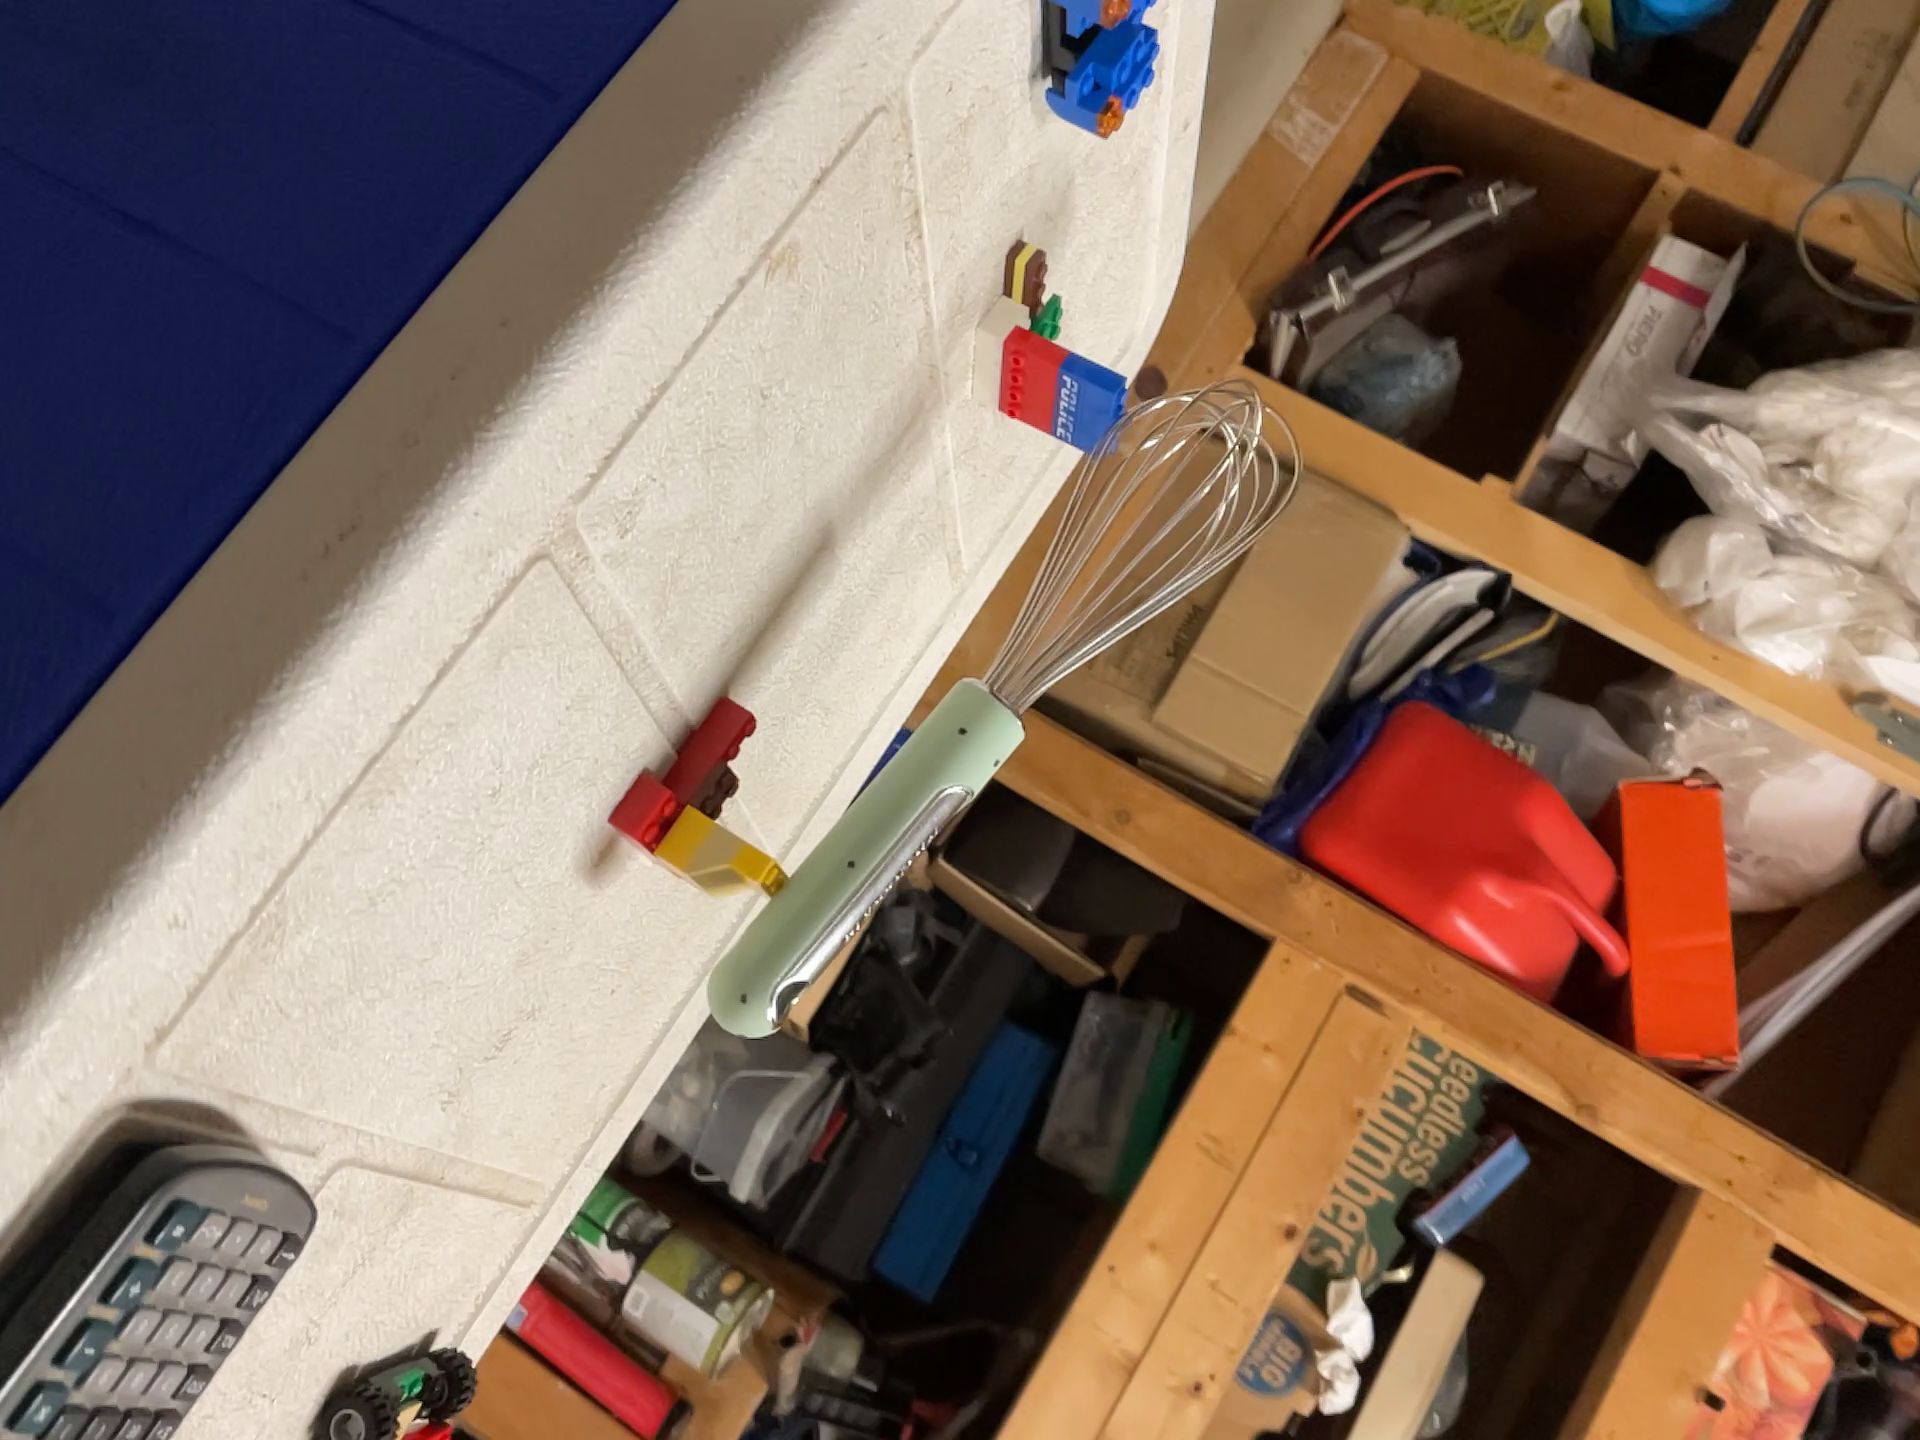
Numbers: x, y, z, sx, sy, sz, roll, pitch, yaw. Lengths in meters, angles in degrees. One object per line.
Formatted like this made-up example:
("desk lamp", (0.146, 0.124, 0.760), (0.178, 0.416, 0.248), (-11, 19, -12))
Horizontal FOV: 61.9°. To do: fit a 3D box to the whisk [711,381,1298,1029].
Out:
("whisk", (0.015, -0.010, 0.464), (0.246, 0.059, 0.057), (-49, 157, -16))
